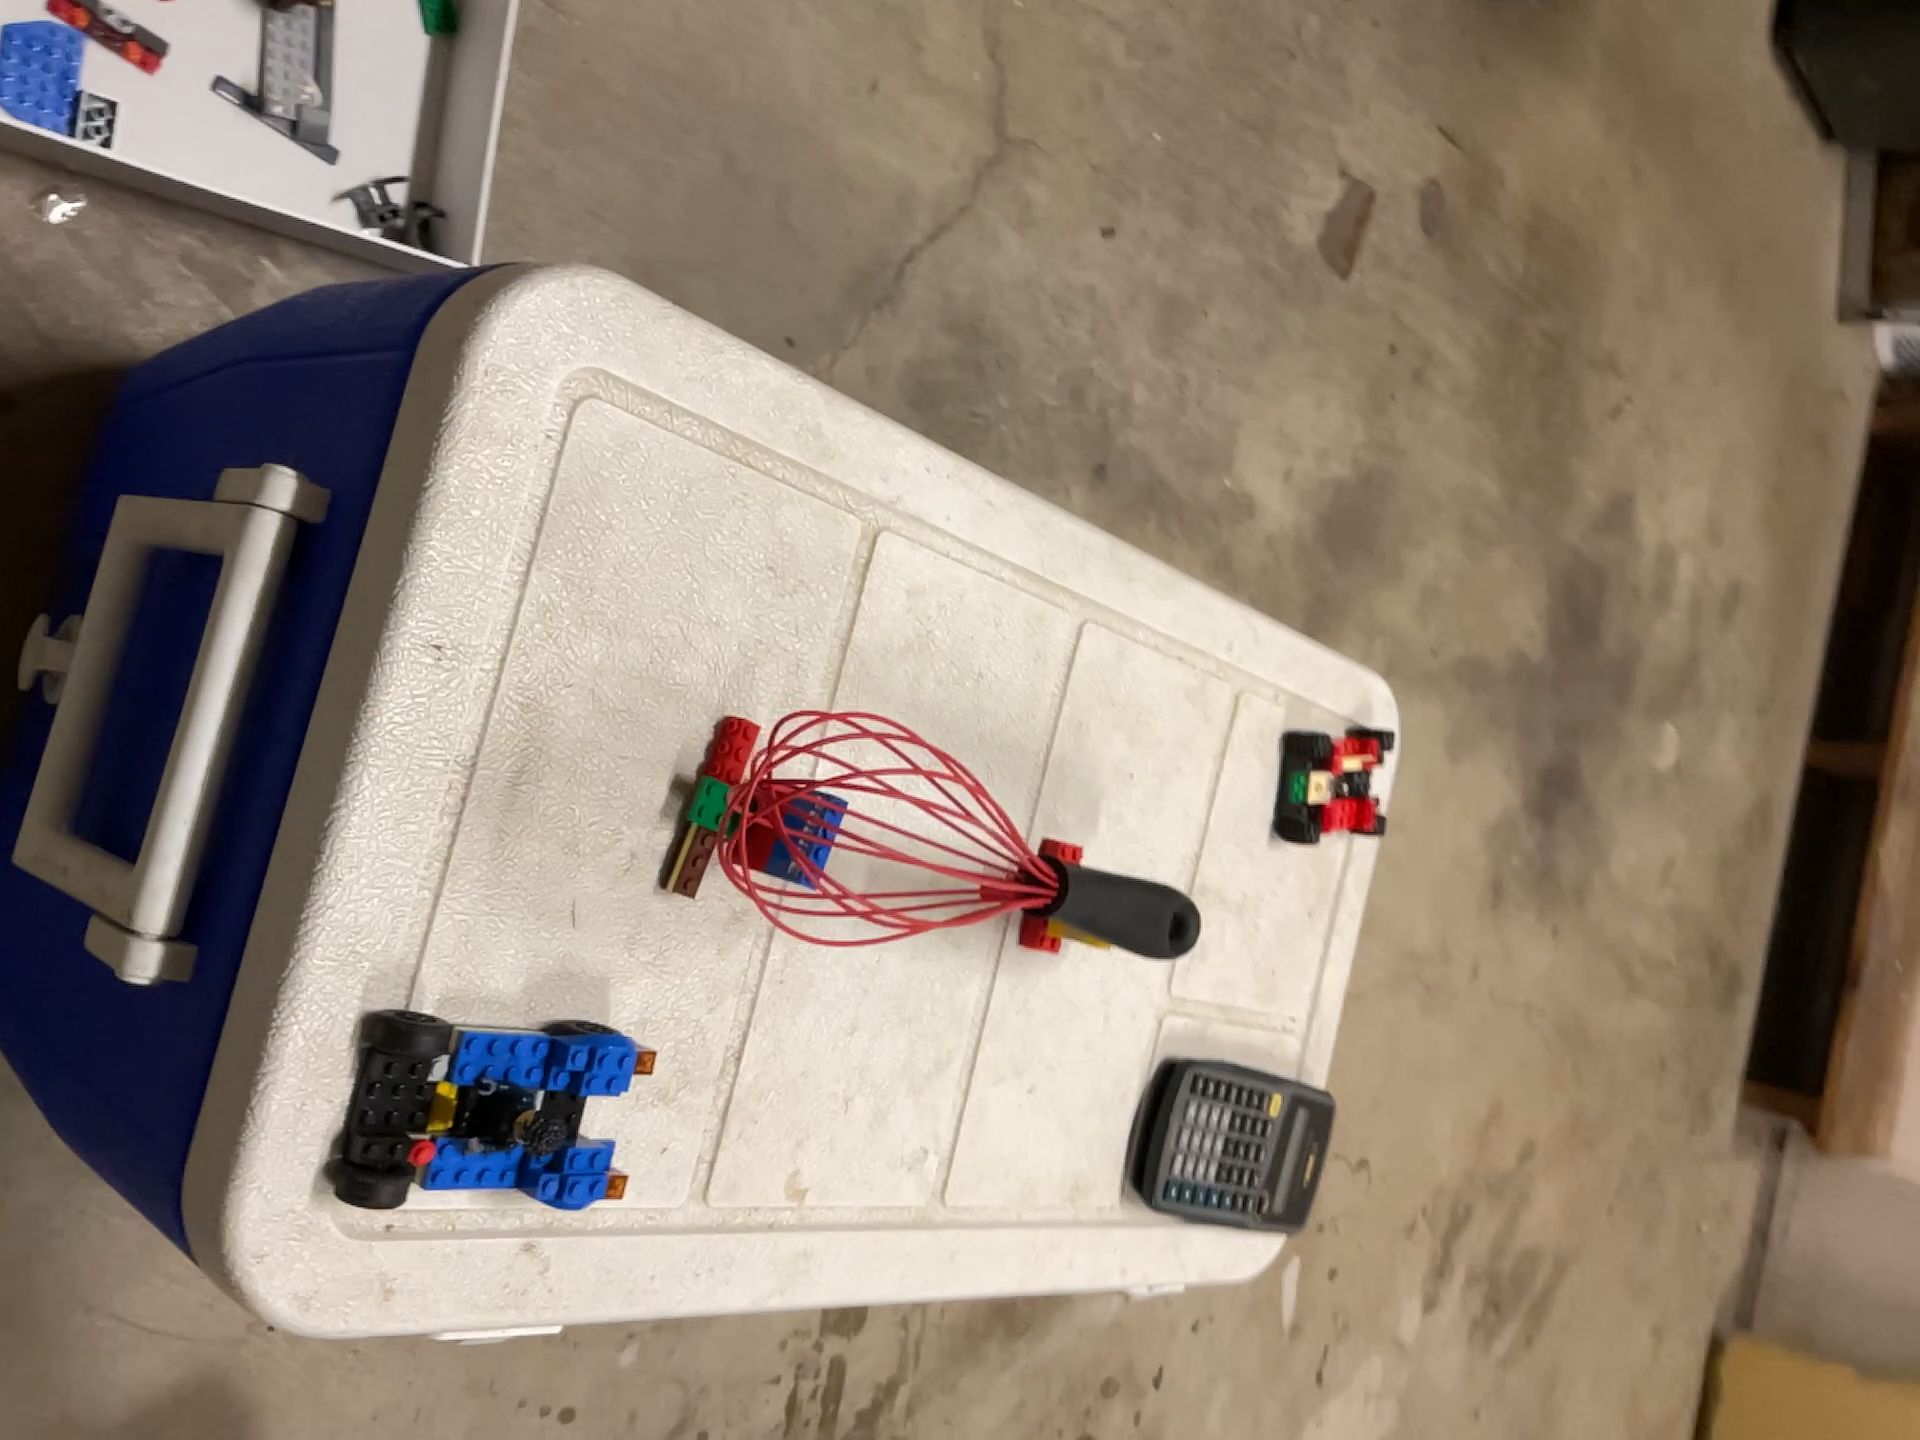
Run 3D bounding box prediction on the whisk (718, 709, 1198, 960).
[{"bbox_3d":[0.019,0.055,0.566,0.296,0.073,0.073,24,76,-55],"label":"whisk"}]
